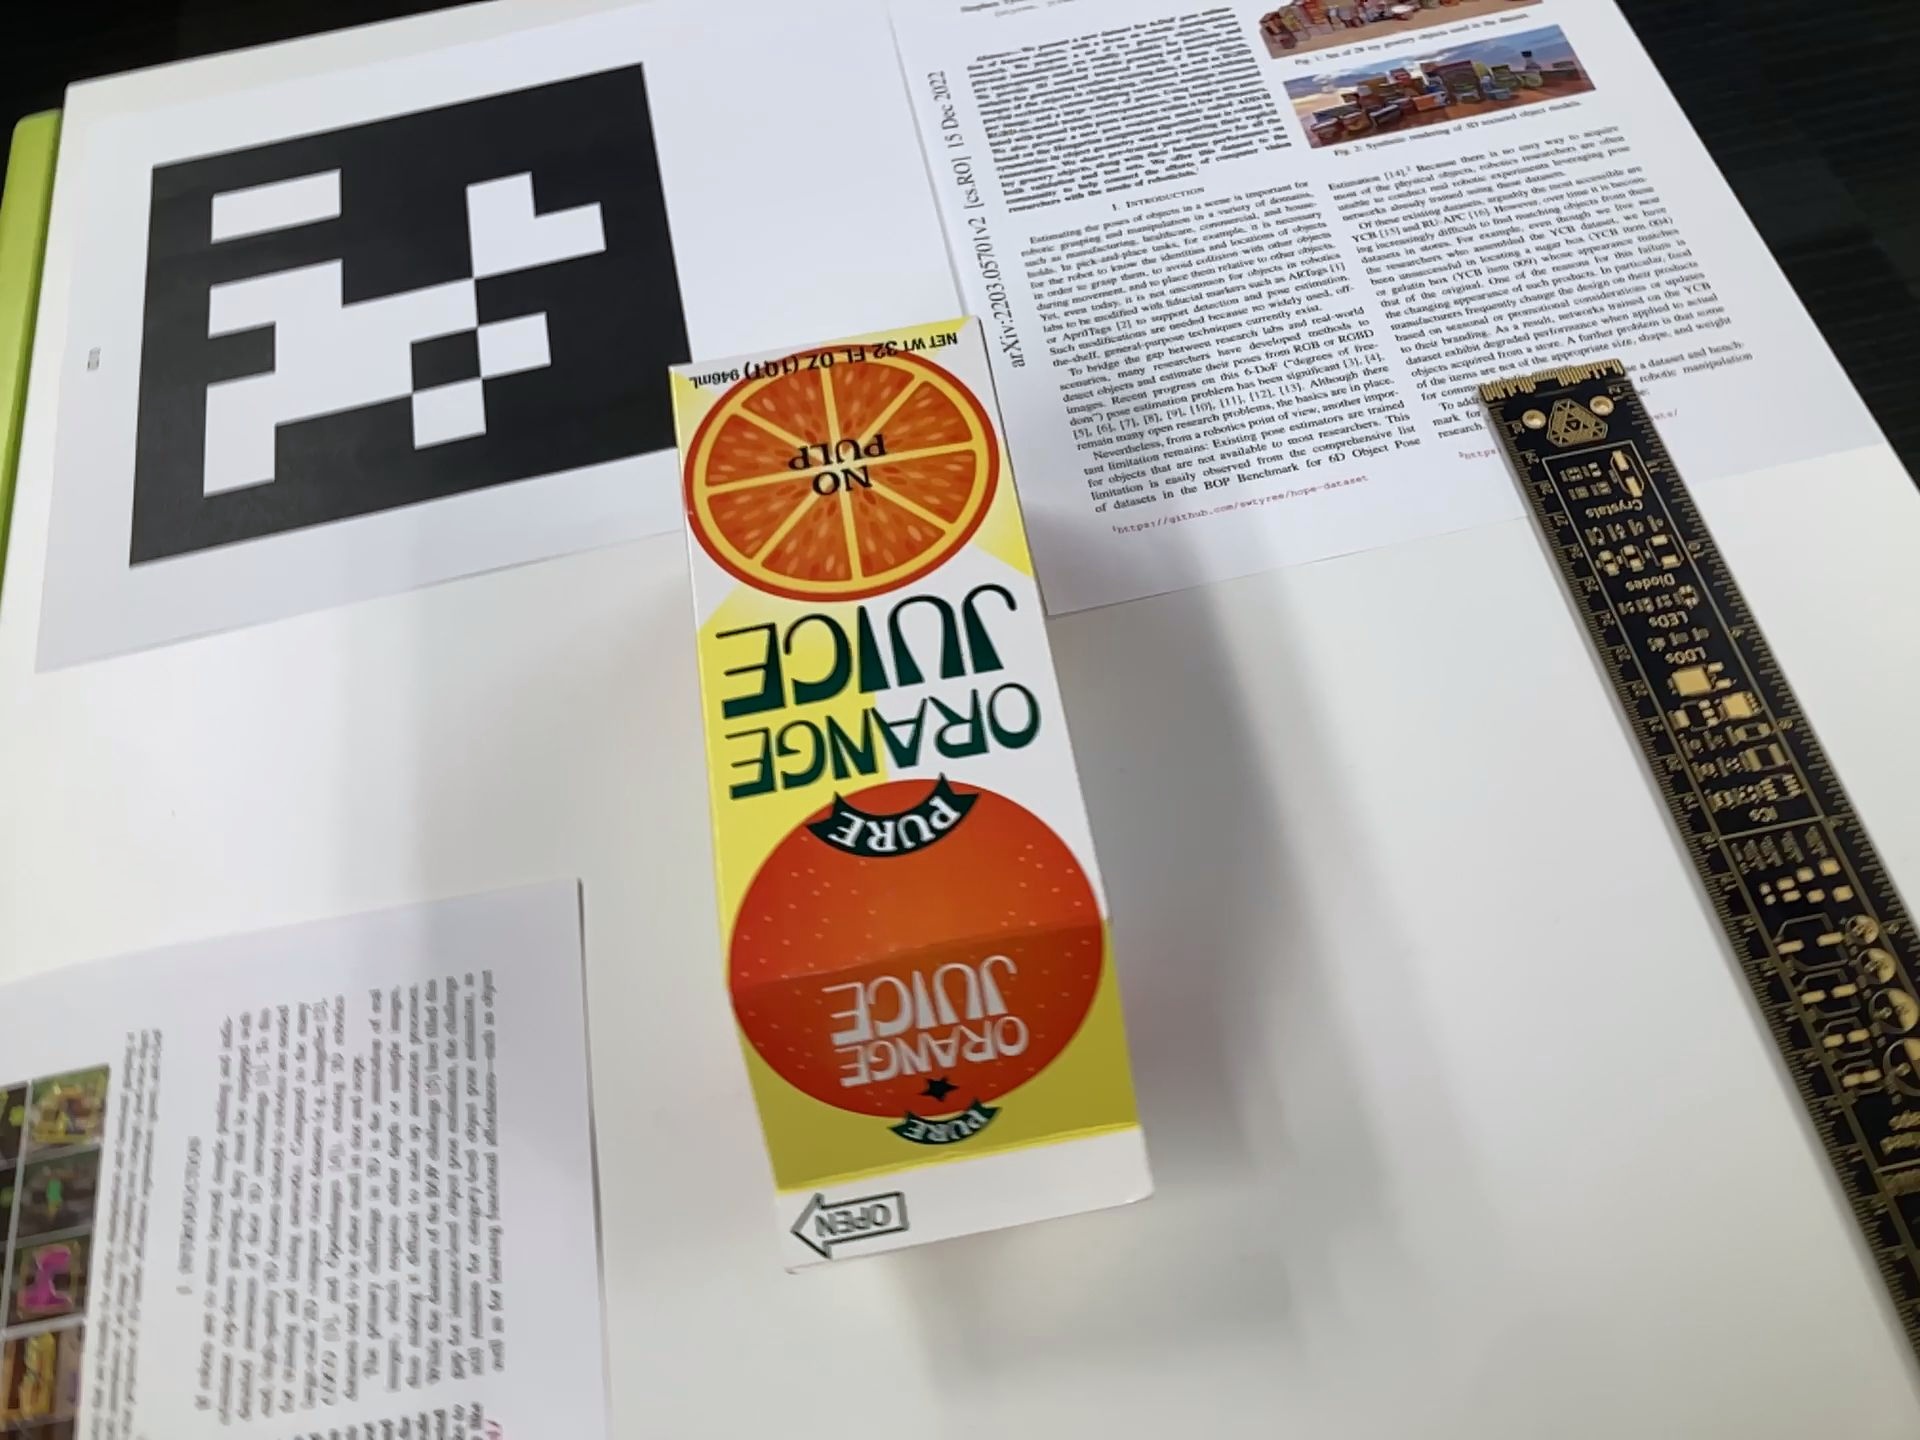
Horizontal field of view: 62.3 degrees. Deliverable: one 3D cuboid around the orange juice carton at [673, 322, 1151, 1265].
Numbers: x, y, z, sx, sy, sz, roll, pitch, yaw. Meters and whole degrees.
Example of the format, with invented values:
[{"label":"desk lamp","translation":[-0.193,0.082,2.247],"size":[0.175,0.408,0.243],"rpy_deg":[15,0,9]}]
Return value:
[{"label":"orange juice carton","translation":[-0.013,0.013,0.343],"size":[0.072,0.073,0.192],"rpy_deg":[-10,61,-1]}]
